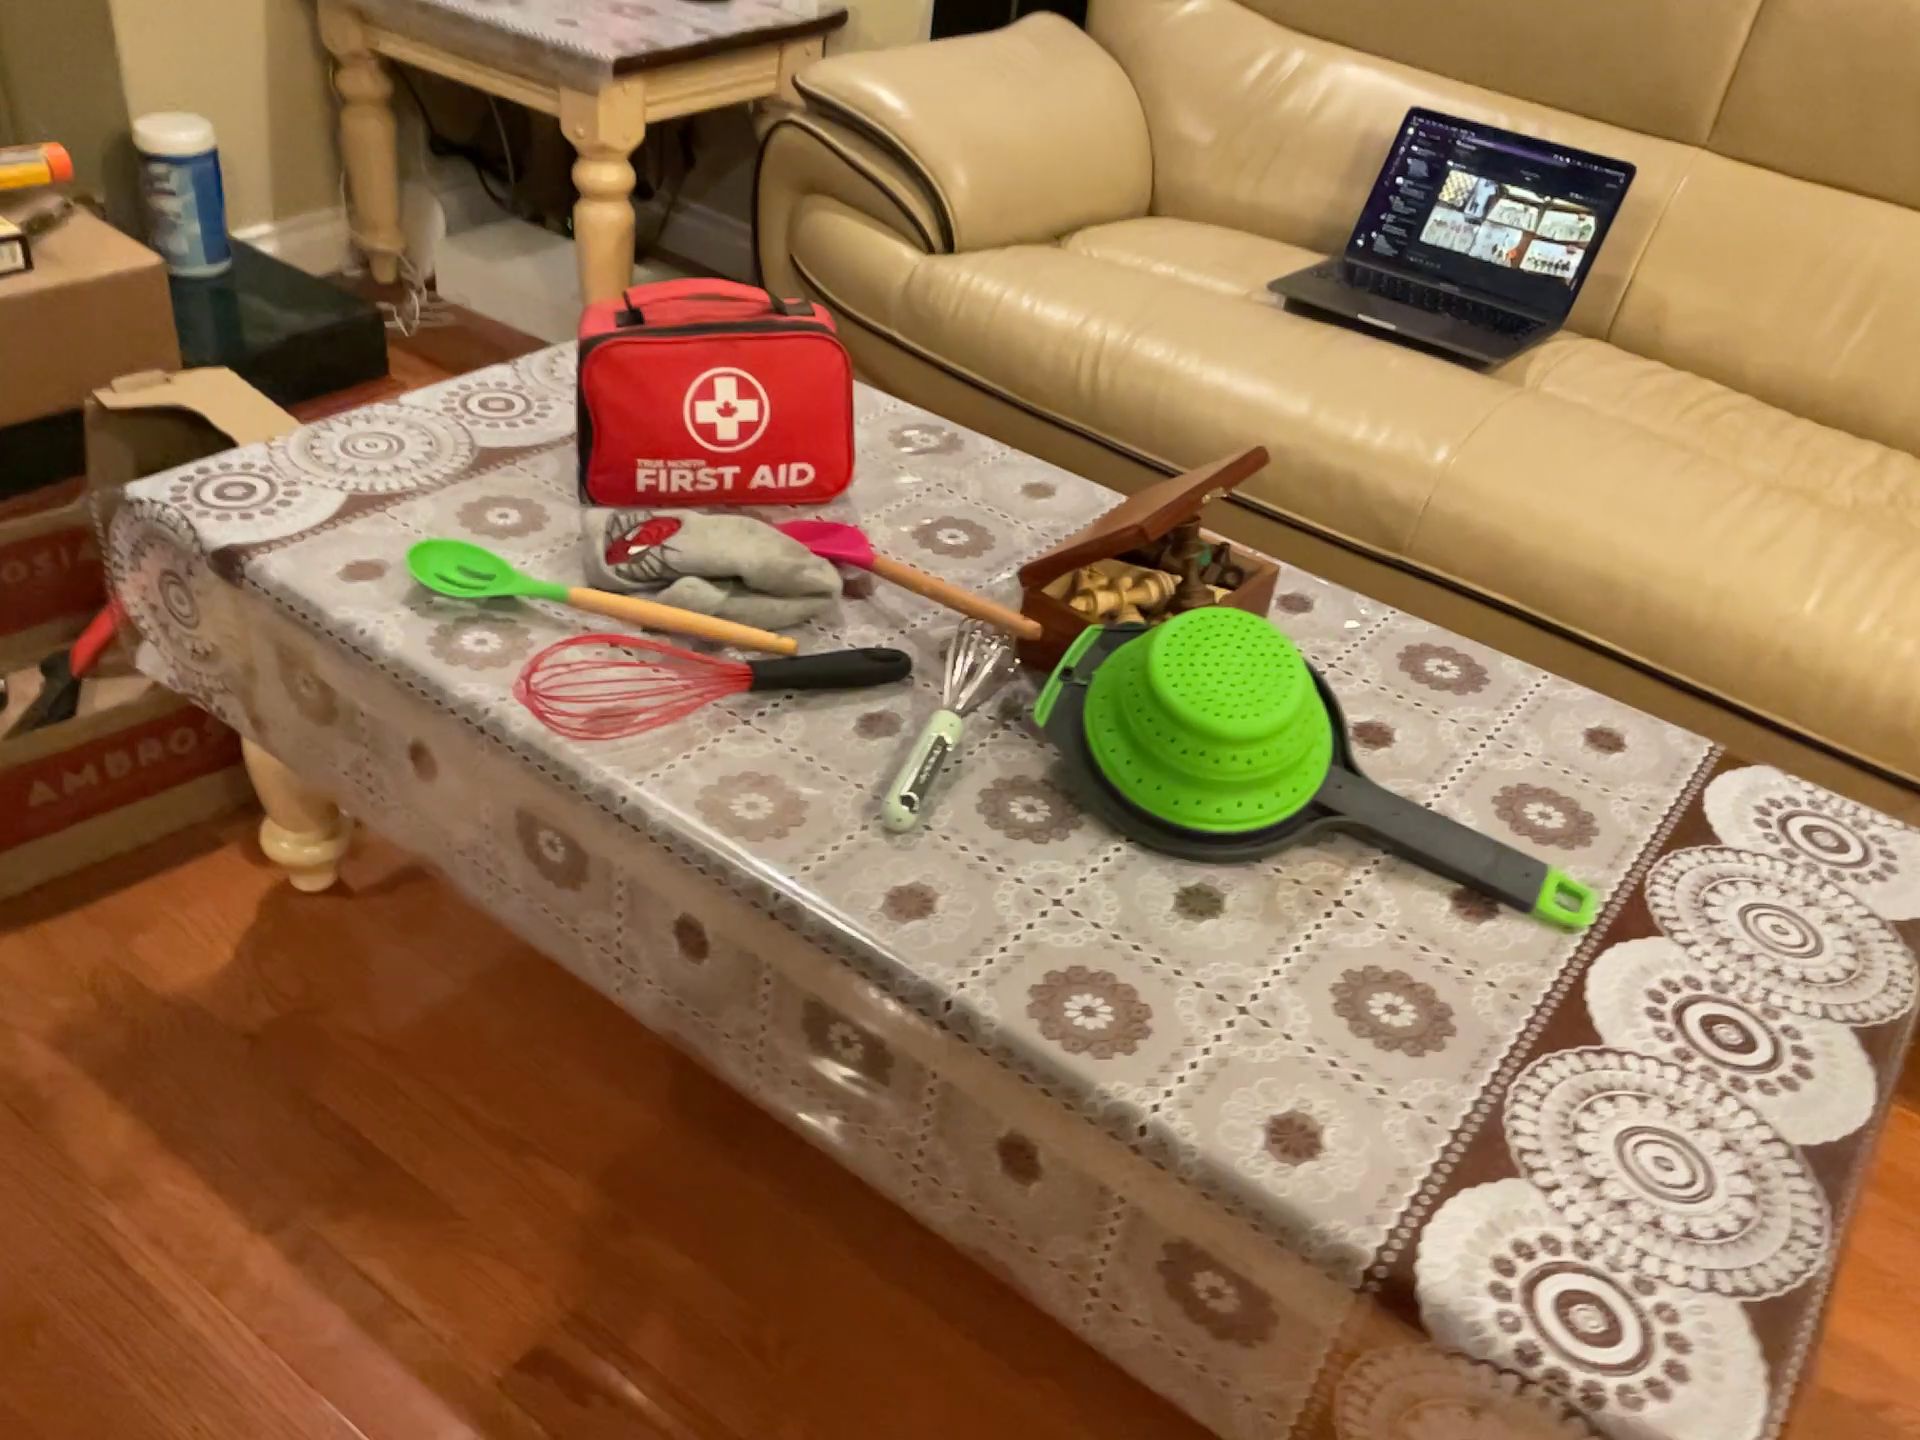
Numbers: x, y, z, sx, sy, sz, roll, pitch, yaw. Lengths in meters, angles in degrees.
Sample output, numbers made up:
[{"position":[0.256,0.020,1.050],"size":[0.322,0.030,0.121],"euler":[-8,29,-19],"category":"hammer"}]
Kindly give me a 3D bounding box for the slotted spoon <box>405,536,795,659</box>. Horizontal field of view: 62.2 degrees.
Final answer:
[{"position":[-0.271,-0.086,1.191],"size":[0.314,0.031,0.070],"euler":[14,35,12],"category":"slotted spoon"}]

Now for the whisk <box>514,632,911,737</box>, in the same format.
[{"position":[-0.168,-0.031,1.133],"size":[0.295,0.073,0.073],"euler":[-4,30,-28],"category":"whisk"}]

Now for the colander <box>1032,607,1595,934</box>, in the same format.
[{"position":[0.246,0.027,1.070],"size":[0.397,0.094,0.205],"euler":[26,58,12],"category":"colander"}]

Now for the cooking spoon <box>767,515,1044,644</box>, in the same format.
[{"position":[-0.050,-0.116,1.260],"size":[0.069,0.017,0.319],"euler":[-24,36,-36],"category":"cooking spoon"}]

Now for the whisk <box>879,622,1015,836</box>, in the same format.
[{"position":[-0.008,0.004,1.135],"size":[0.058,0.059,0.246],"euler":[-22,23,32],"category":"whisk"}]
